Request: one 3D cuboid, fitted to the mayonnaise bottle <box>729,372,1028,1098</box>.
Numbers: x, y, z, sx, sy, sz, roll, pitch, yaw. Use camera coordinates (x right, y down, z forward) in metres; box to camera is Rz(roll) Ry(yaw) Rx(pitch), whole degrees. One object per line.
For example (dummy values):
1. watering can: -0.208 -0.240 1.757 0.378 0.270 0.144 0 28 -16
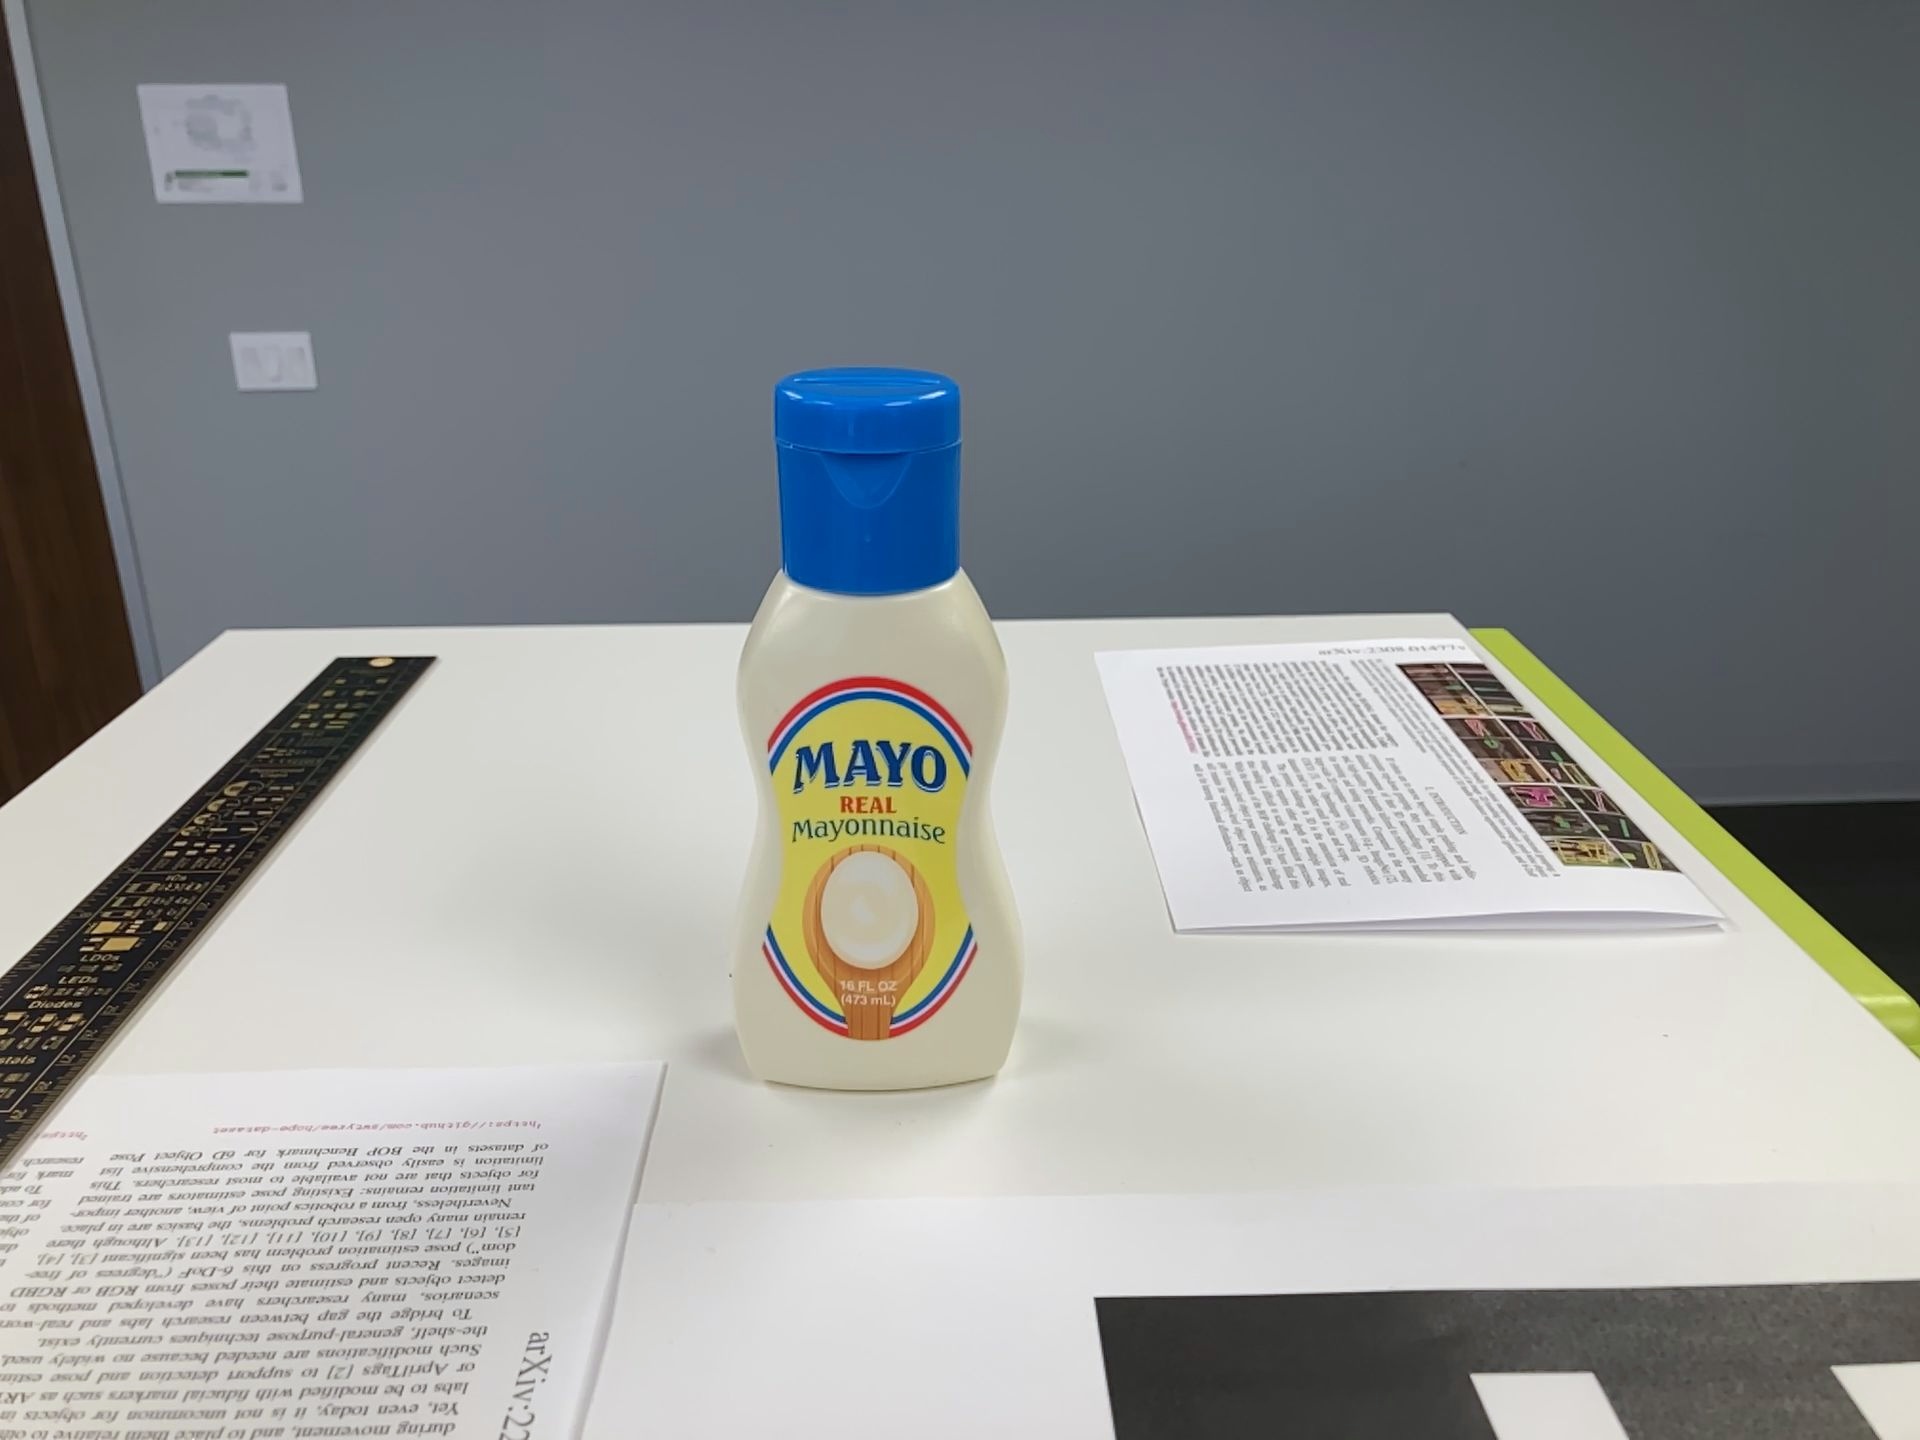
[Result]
1. mayonnaise bottle: -0.018 0.006 0.327 0.065 0.148 0.041 -1 21 -1
